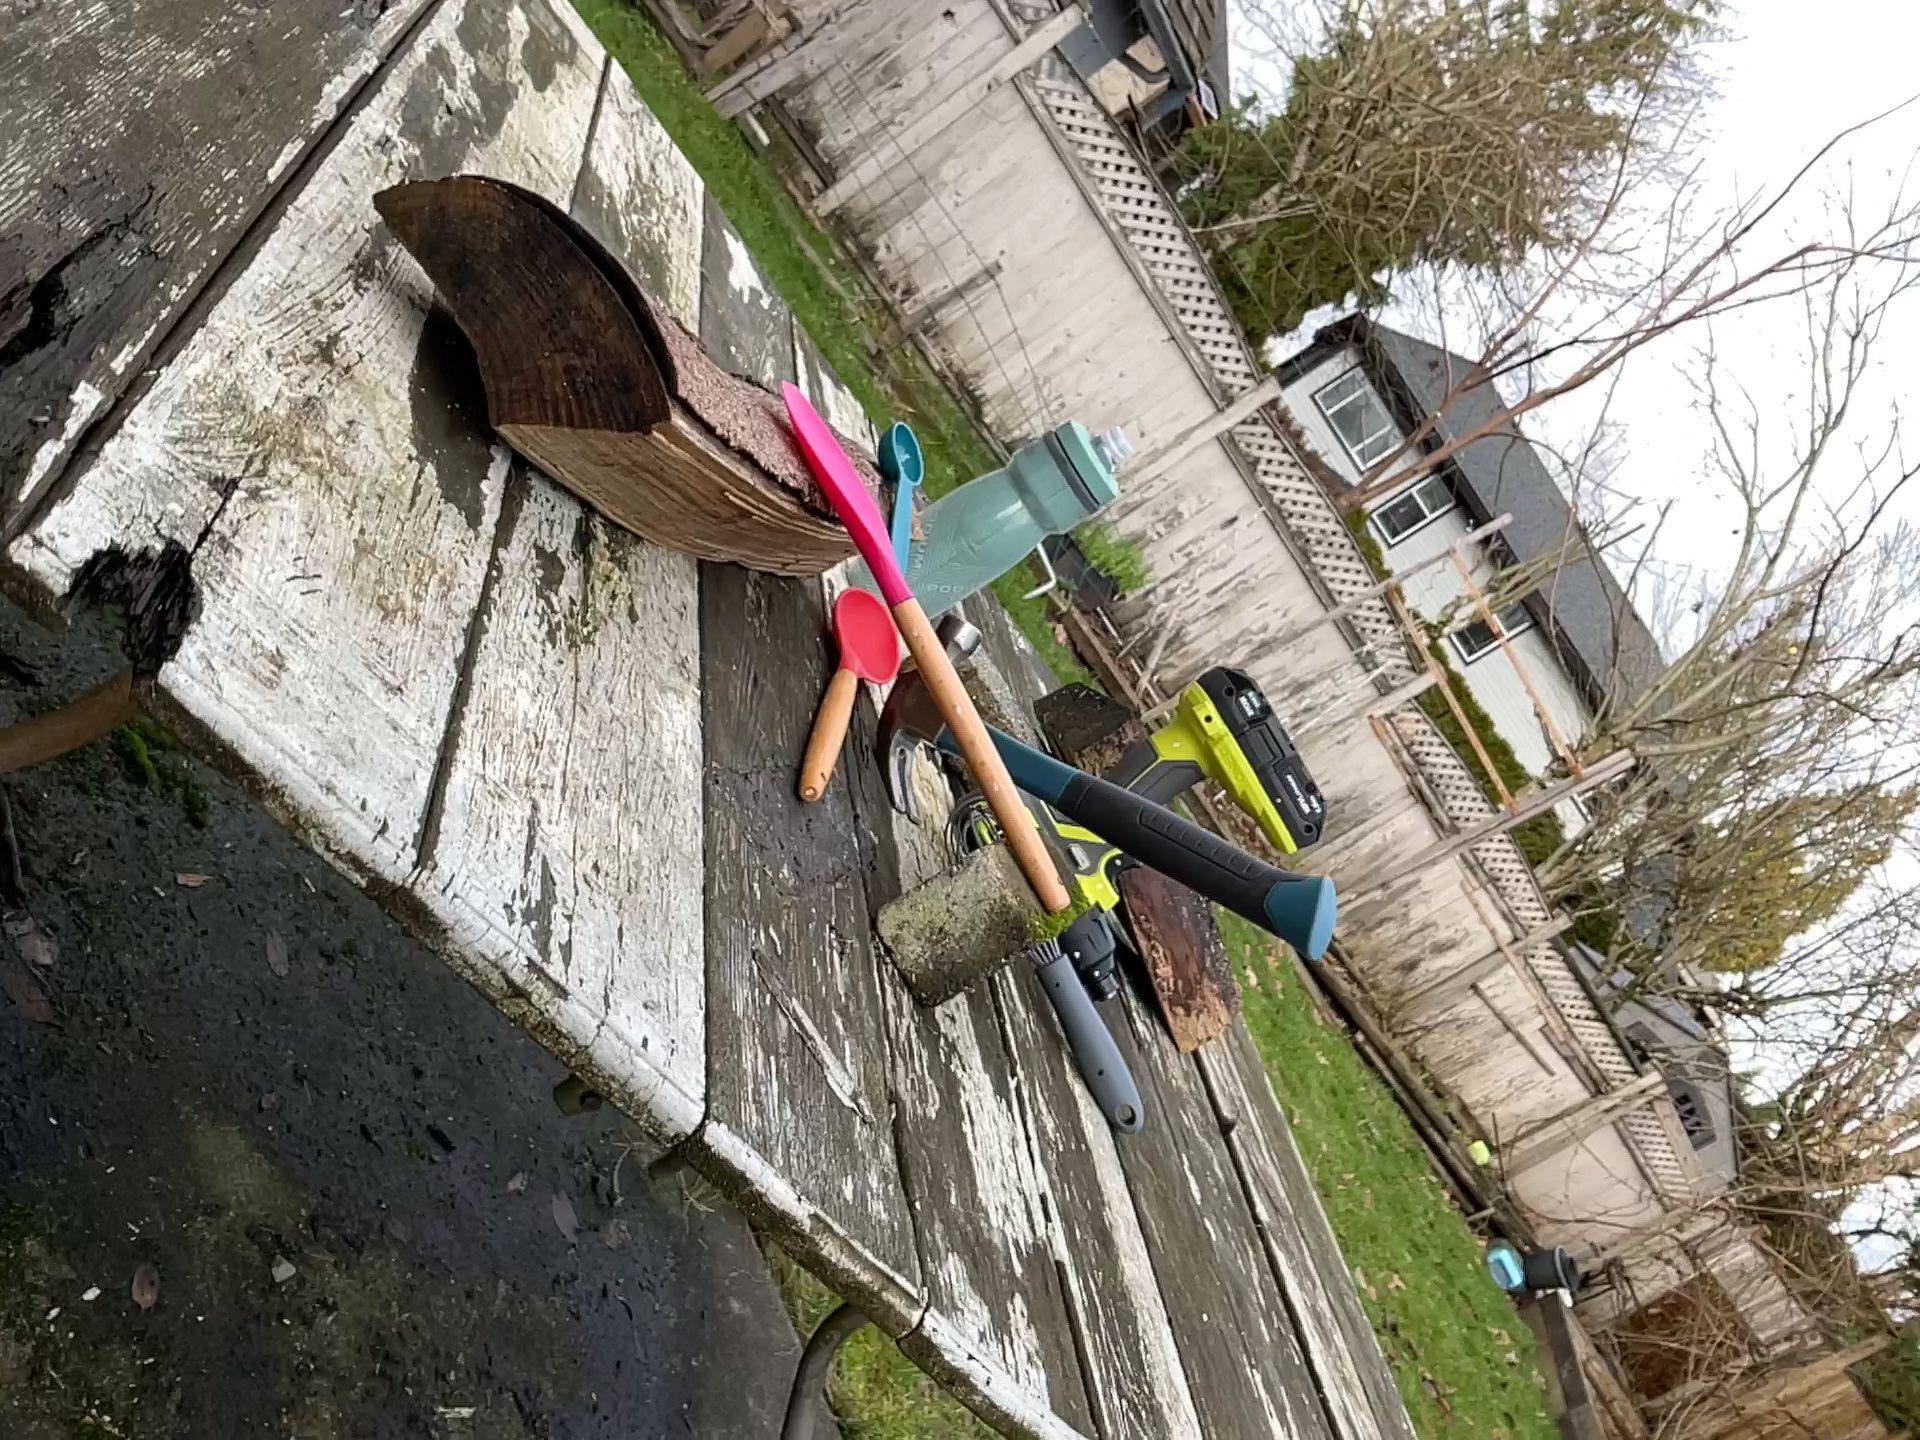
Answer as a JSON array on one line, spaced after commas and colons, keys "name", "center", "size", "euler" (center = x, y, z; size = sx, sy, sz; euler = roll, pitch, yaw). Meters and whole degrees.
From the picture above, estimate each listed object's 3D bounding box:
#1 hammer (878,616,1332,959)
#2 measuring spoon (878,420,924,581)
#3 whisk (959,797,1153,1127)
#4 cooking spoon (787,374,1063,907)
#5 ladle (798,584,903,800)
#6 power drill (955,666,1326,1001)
[{"name": "hammer", "center": [0.078, 0.048, 0.949], "size": [0.331, 0.128, 0.033], "euler": [27, -7, 36]}, {"name": "measuring spoon", "center": [-0.043, -0.137, 1.026], "size": [0.042, 0.021, 0.129], "euler": [46, 39, -50]}, {"name": "whisk", "center": [0.065, 0.158, 1.034], "size": [0.239, 0.055, 0.055], "euler": [62, 19, -1]}, {"name": "cooking spoon", "center": [-0.021, -0.044, 0.862], "size": [0.319, 0.017, 0.068], "euler": [63, 11, 2]}, {"name": "ladle", "center": [-0.071, -0.017, 0.987], "size": [0.069, 0.031, 0.315], "euler": [58, 14, -16]}, {"name": "power drill", "center": [0.132, 0.077, 1.109], "size": [0.171, 0.223, 0.080], "euler": [60, 4, 1]}]
